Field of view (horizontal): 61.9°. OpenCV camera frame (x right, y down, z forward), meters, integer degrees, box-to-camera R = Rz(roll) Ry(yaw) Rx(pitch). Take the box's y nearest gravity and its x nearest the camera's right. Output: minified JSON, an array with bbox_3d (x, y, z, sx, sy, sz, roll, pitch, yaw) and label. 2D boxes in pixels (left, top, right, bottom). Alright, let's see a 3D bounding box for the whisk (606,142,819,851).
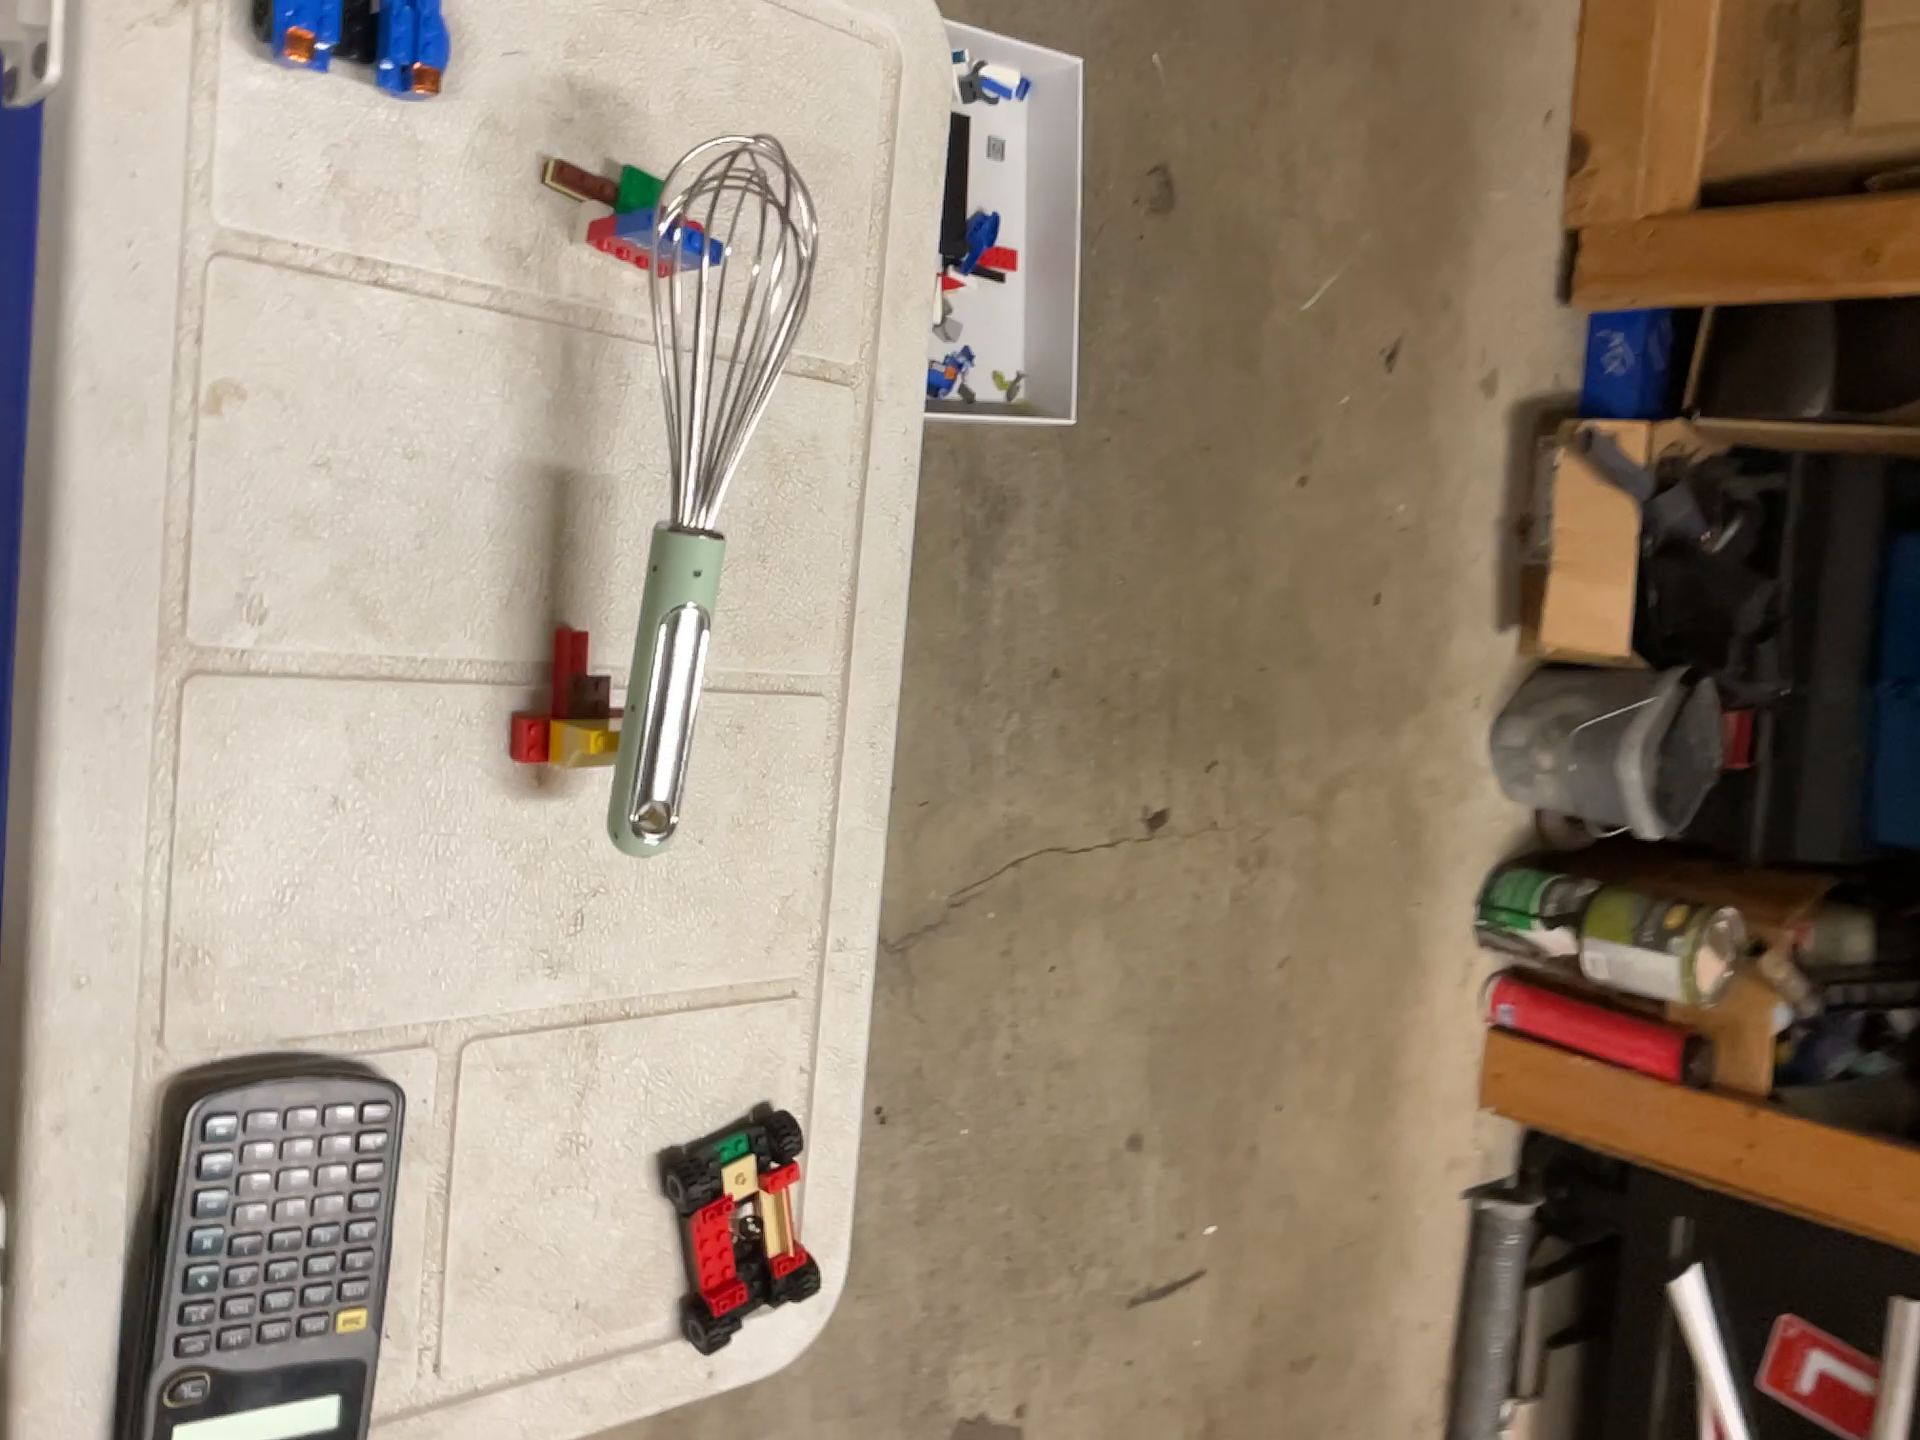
[{"bbox_3d":[-0.091,-0.073,0.551,0.058,0.059,0.246,5,100,-36],"label":"whisk"}]
